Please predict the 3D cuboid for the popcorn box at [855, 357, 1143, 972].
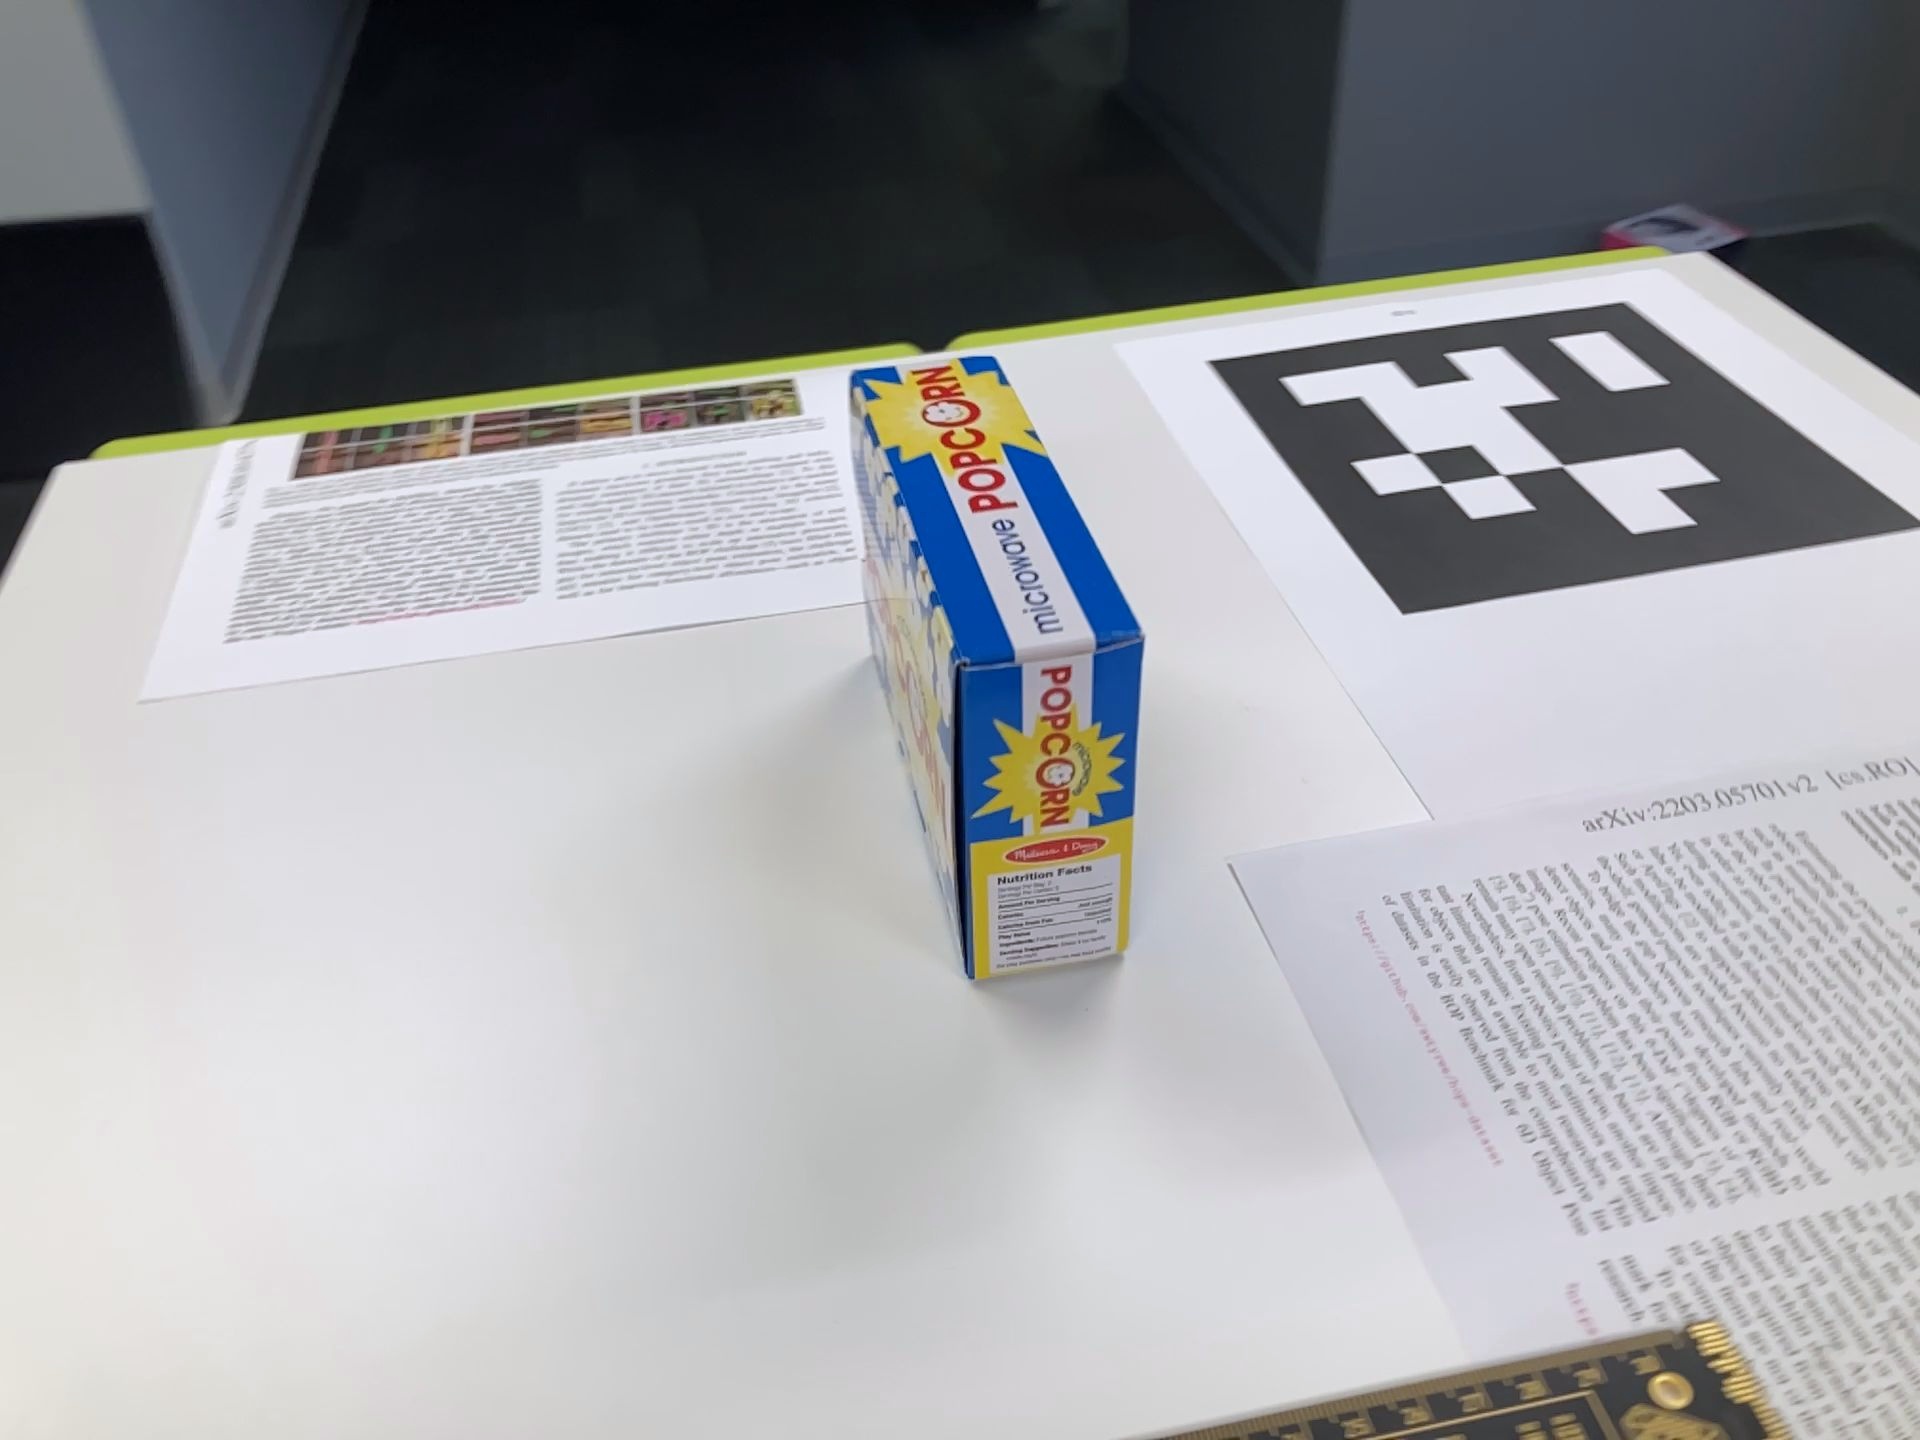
[{"bbox_3d":[0.005,-0.017,0.364,0.038,0.085,0.126,-9,39,-8],"label":"popcorn box"}]
